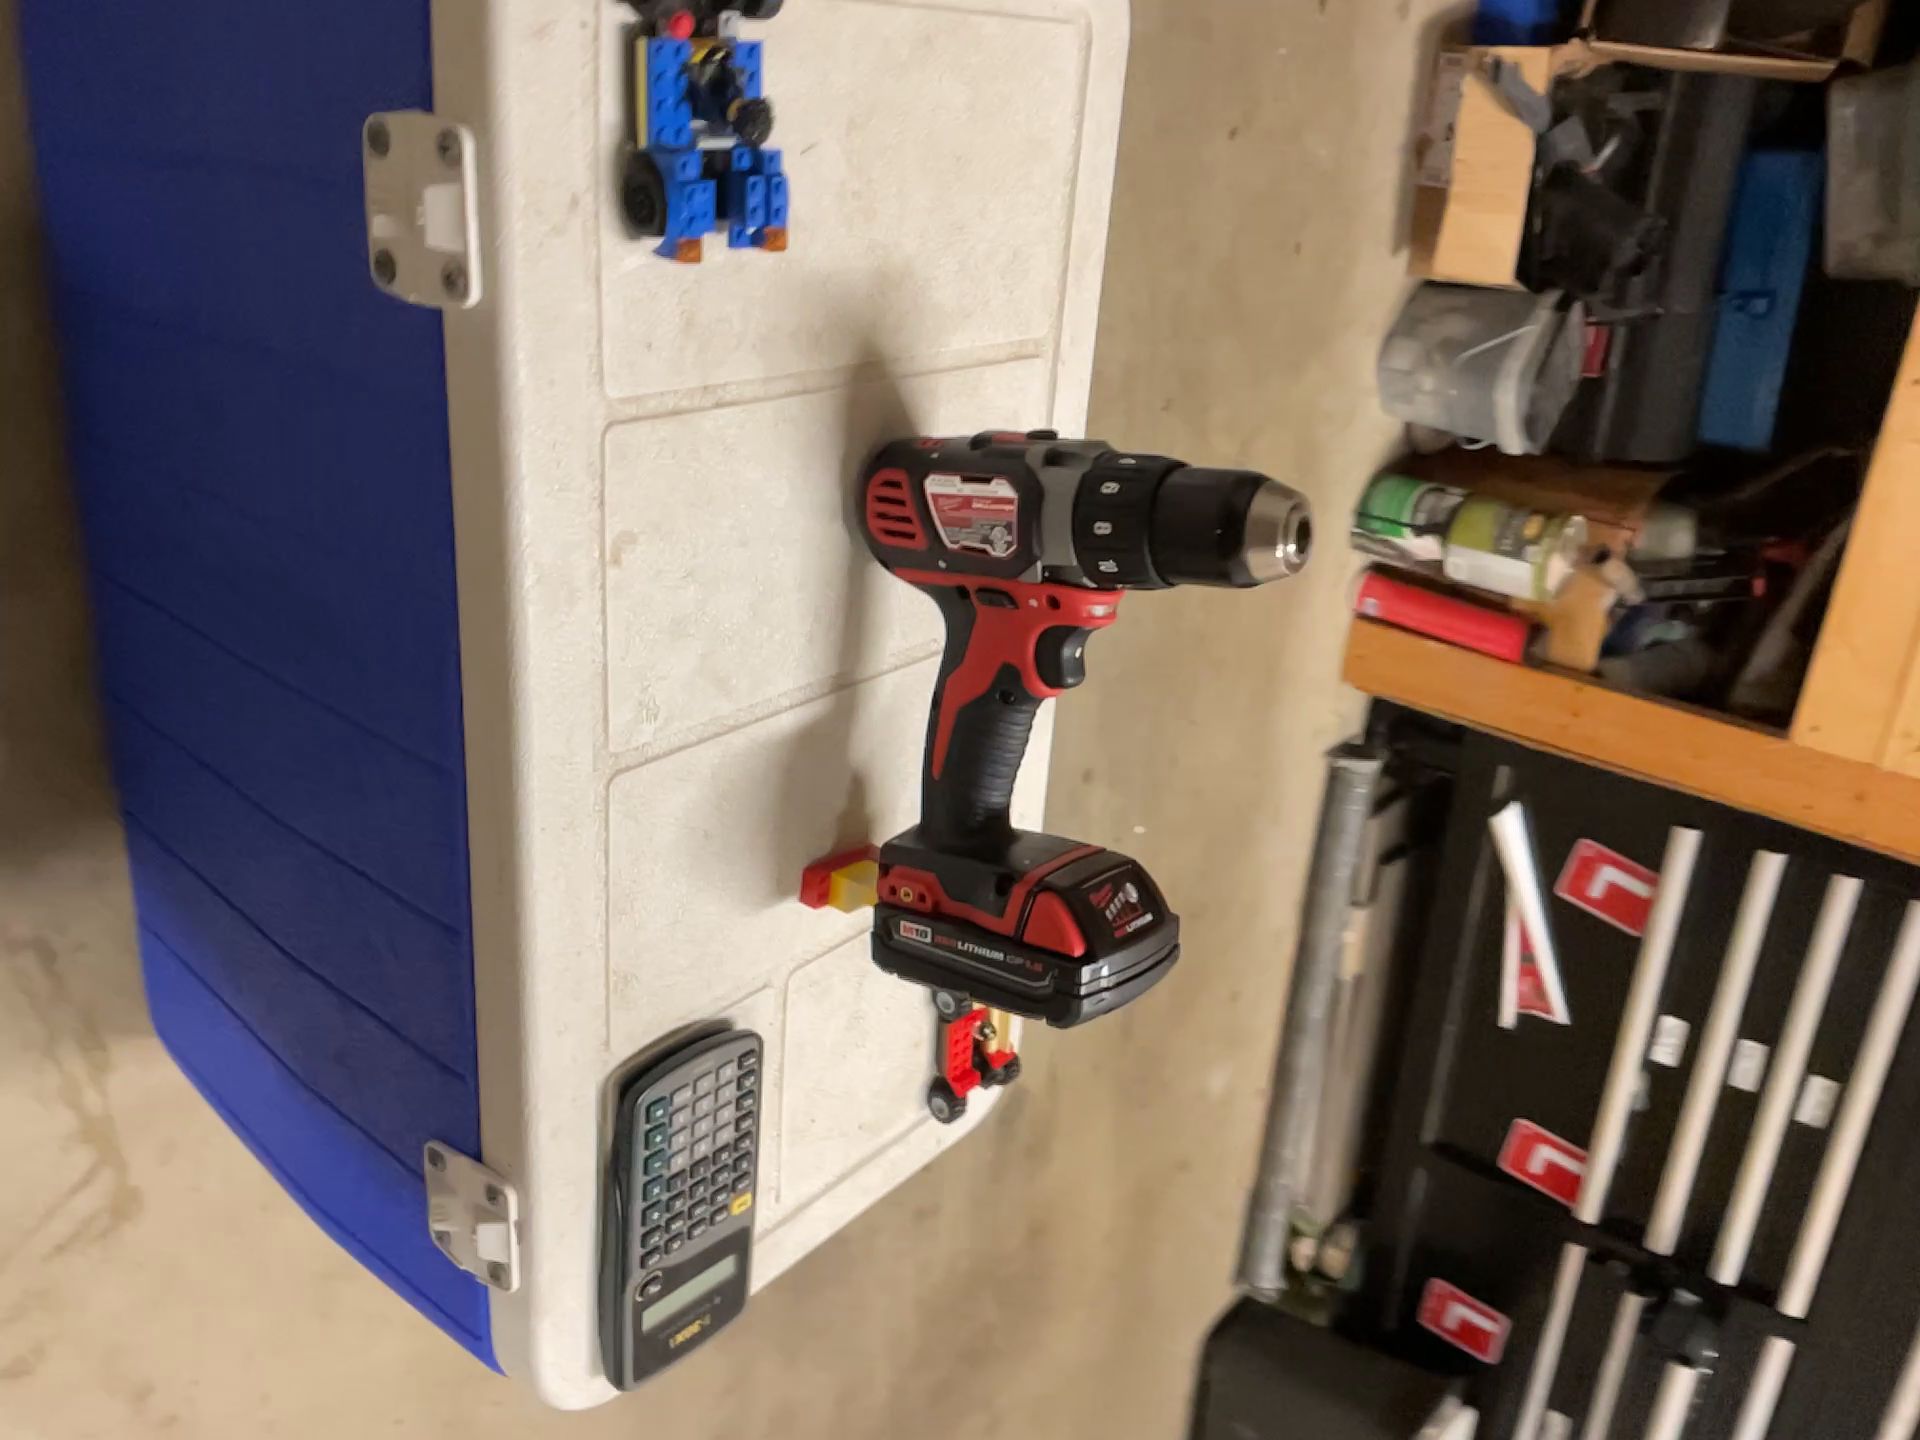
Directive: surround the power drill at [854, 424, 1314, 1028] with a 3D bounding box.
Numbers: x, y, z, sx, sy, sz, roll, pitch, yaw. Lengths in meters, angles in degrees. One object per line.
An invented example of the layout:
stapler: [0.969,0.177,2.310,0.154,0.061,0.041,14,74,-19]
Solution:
power drill: [0.043,-0.001,0.630,0.080,0.188,0.226,-16,111,-52]
